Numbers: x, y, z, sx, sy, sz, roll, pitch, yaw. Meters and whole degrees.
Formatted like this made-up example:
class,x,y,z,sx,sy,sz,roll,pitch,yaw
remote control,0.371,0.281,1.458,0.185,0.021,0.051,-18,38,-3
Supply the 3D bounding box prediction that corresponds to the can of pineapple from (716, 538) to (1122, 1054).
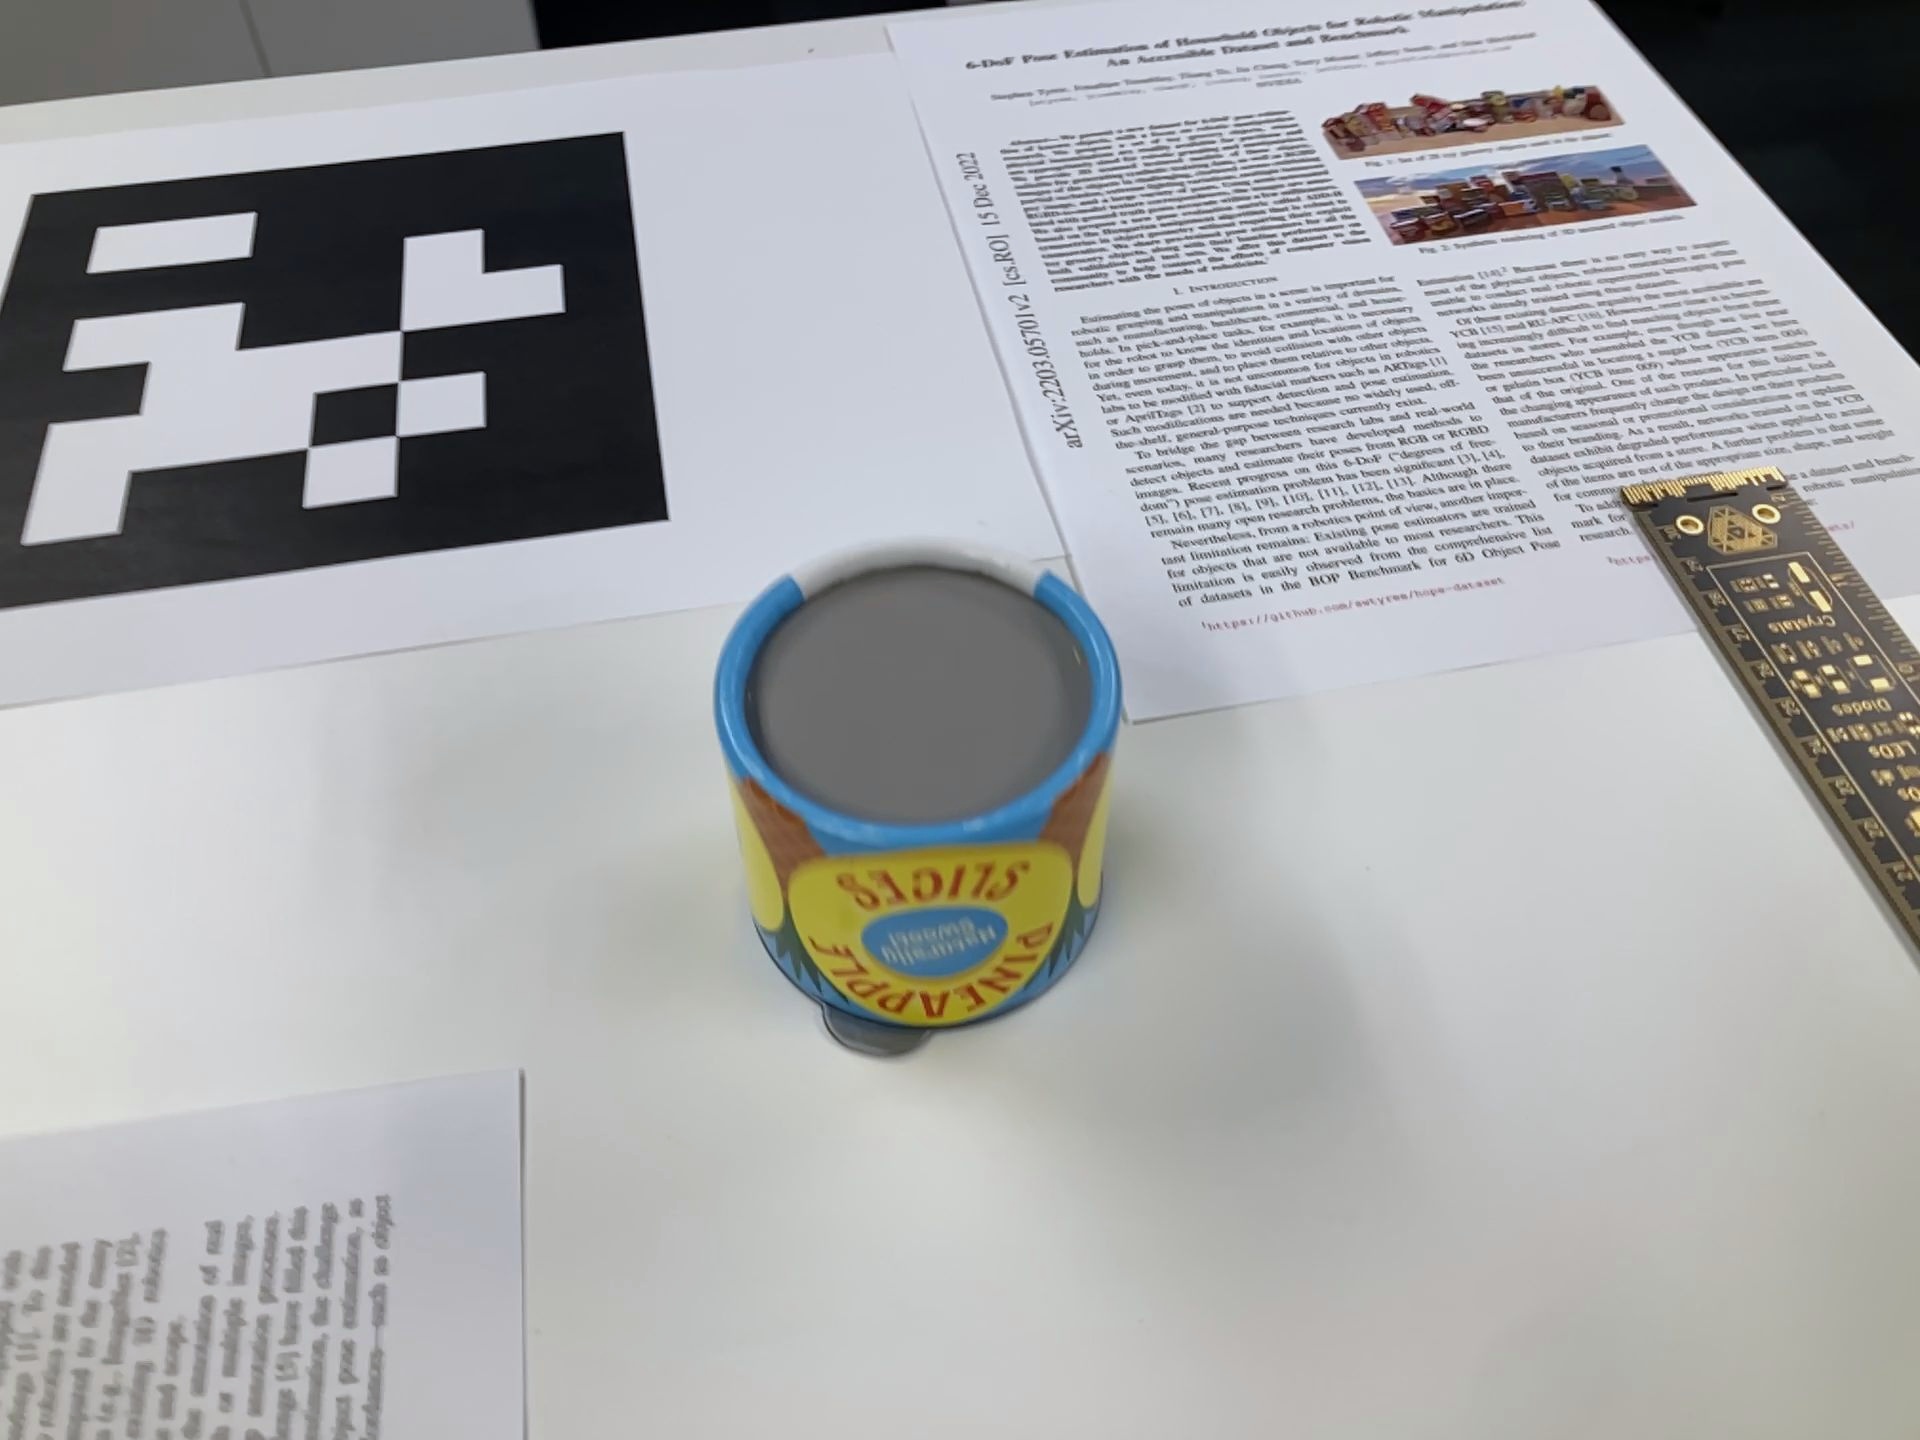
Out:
class,x,y,z,sx,sy,sz,roll,pitch,yaw
can of pineapple,-0.006,0.012,0.274,0.071,0.058,0.071,0,52,0
